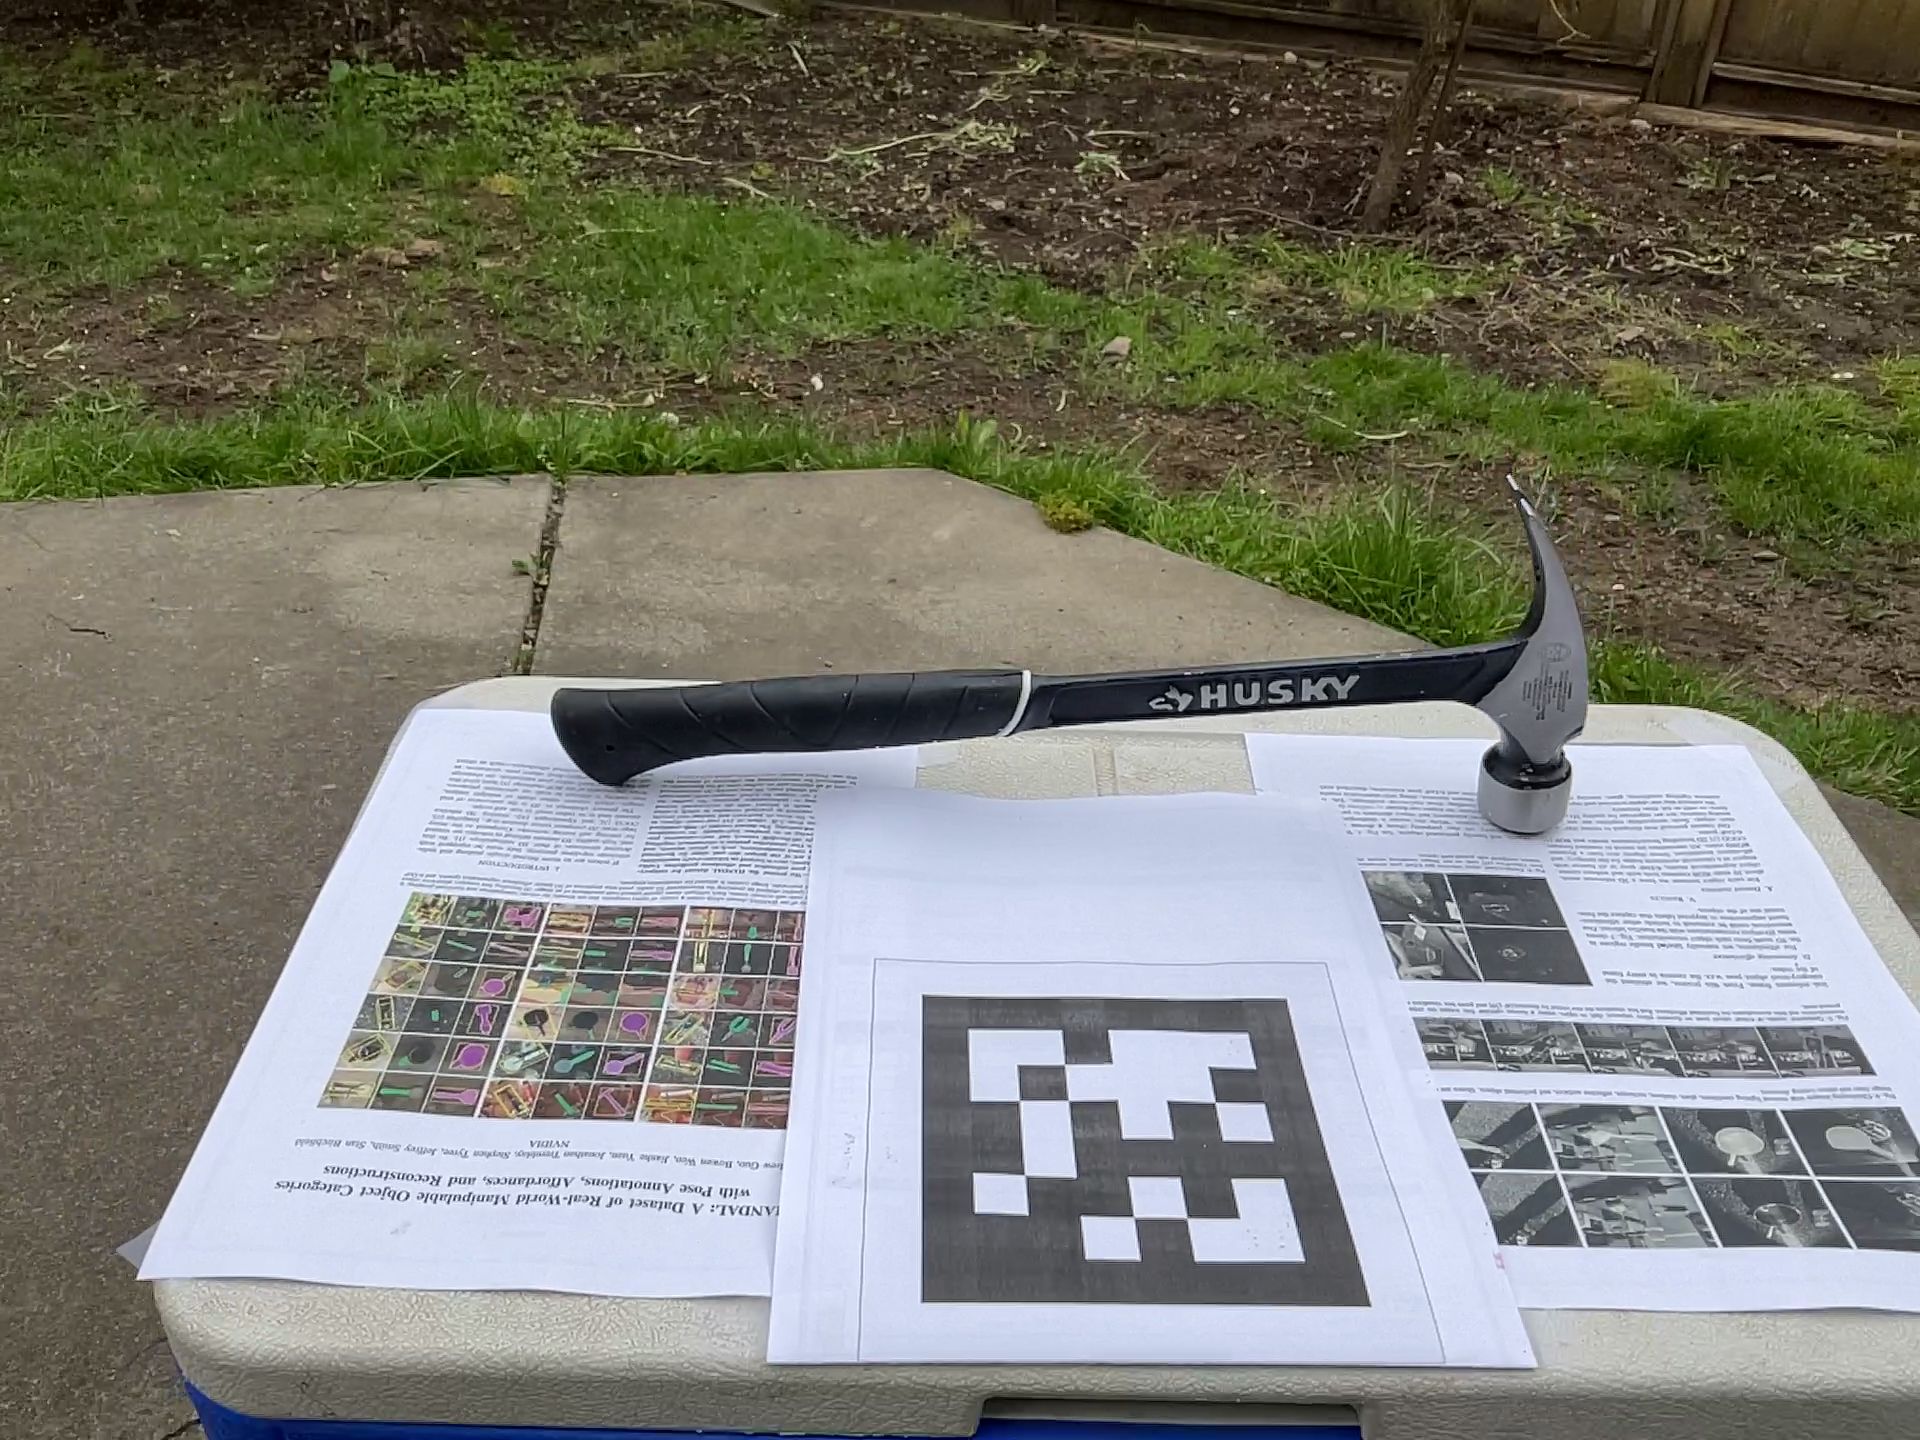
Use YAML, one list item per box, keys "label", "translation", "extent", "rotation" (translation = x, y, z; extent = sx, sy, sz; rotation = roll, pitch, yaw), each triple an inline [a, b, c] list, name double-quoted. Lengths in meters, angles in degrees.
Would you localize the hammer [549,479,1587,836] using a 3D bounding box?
- label: "hammer"
  translation: [0.040, -0.010, 0.632]
  extent: [0.408, 0.149, 0.036]
  rotation: [-3, 35, 4]
